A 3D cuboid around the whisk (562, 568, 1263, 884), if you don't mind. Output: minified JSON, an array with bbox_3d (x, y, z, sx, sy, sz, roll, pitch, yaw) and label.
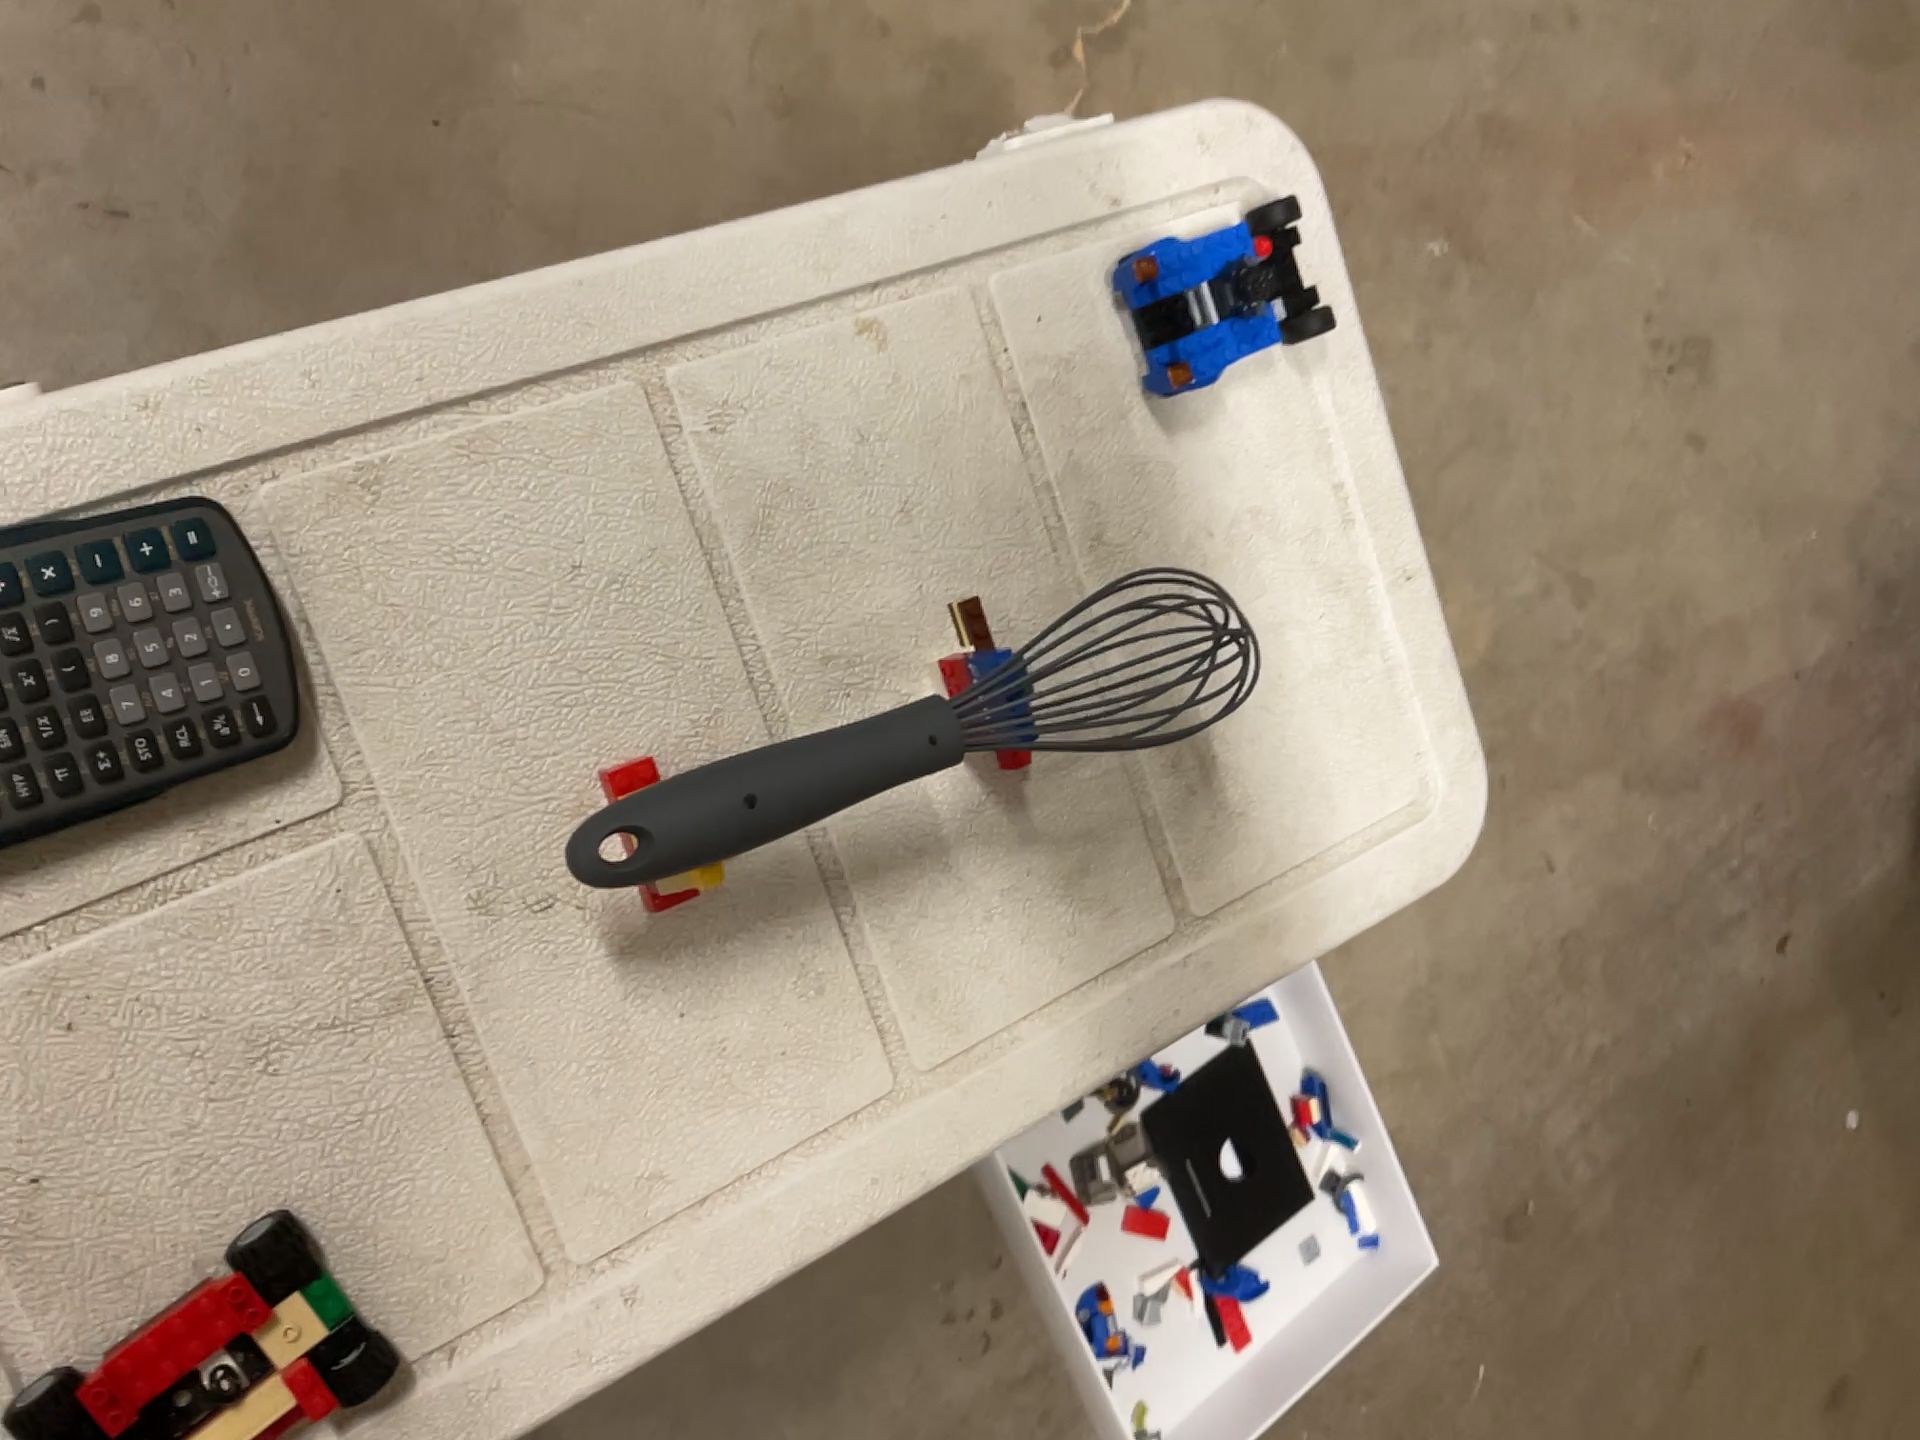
[{"bbox_3d":[-0.007,0.002,0.494,0.239,0.055,0.055,-19,97,-23],"label":"whisk"}]
